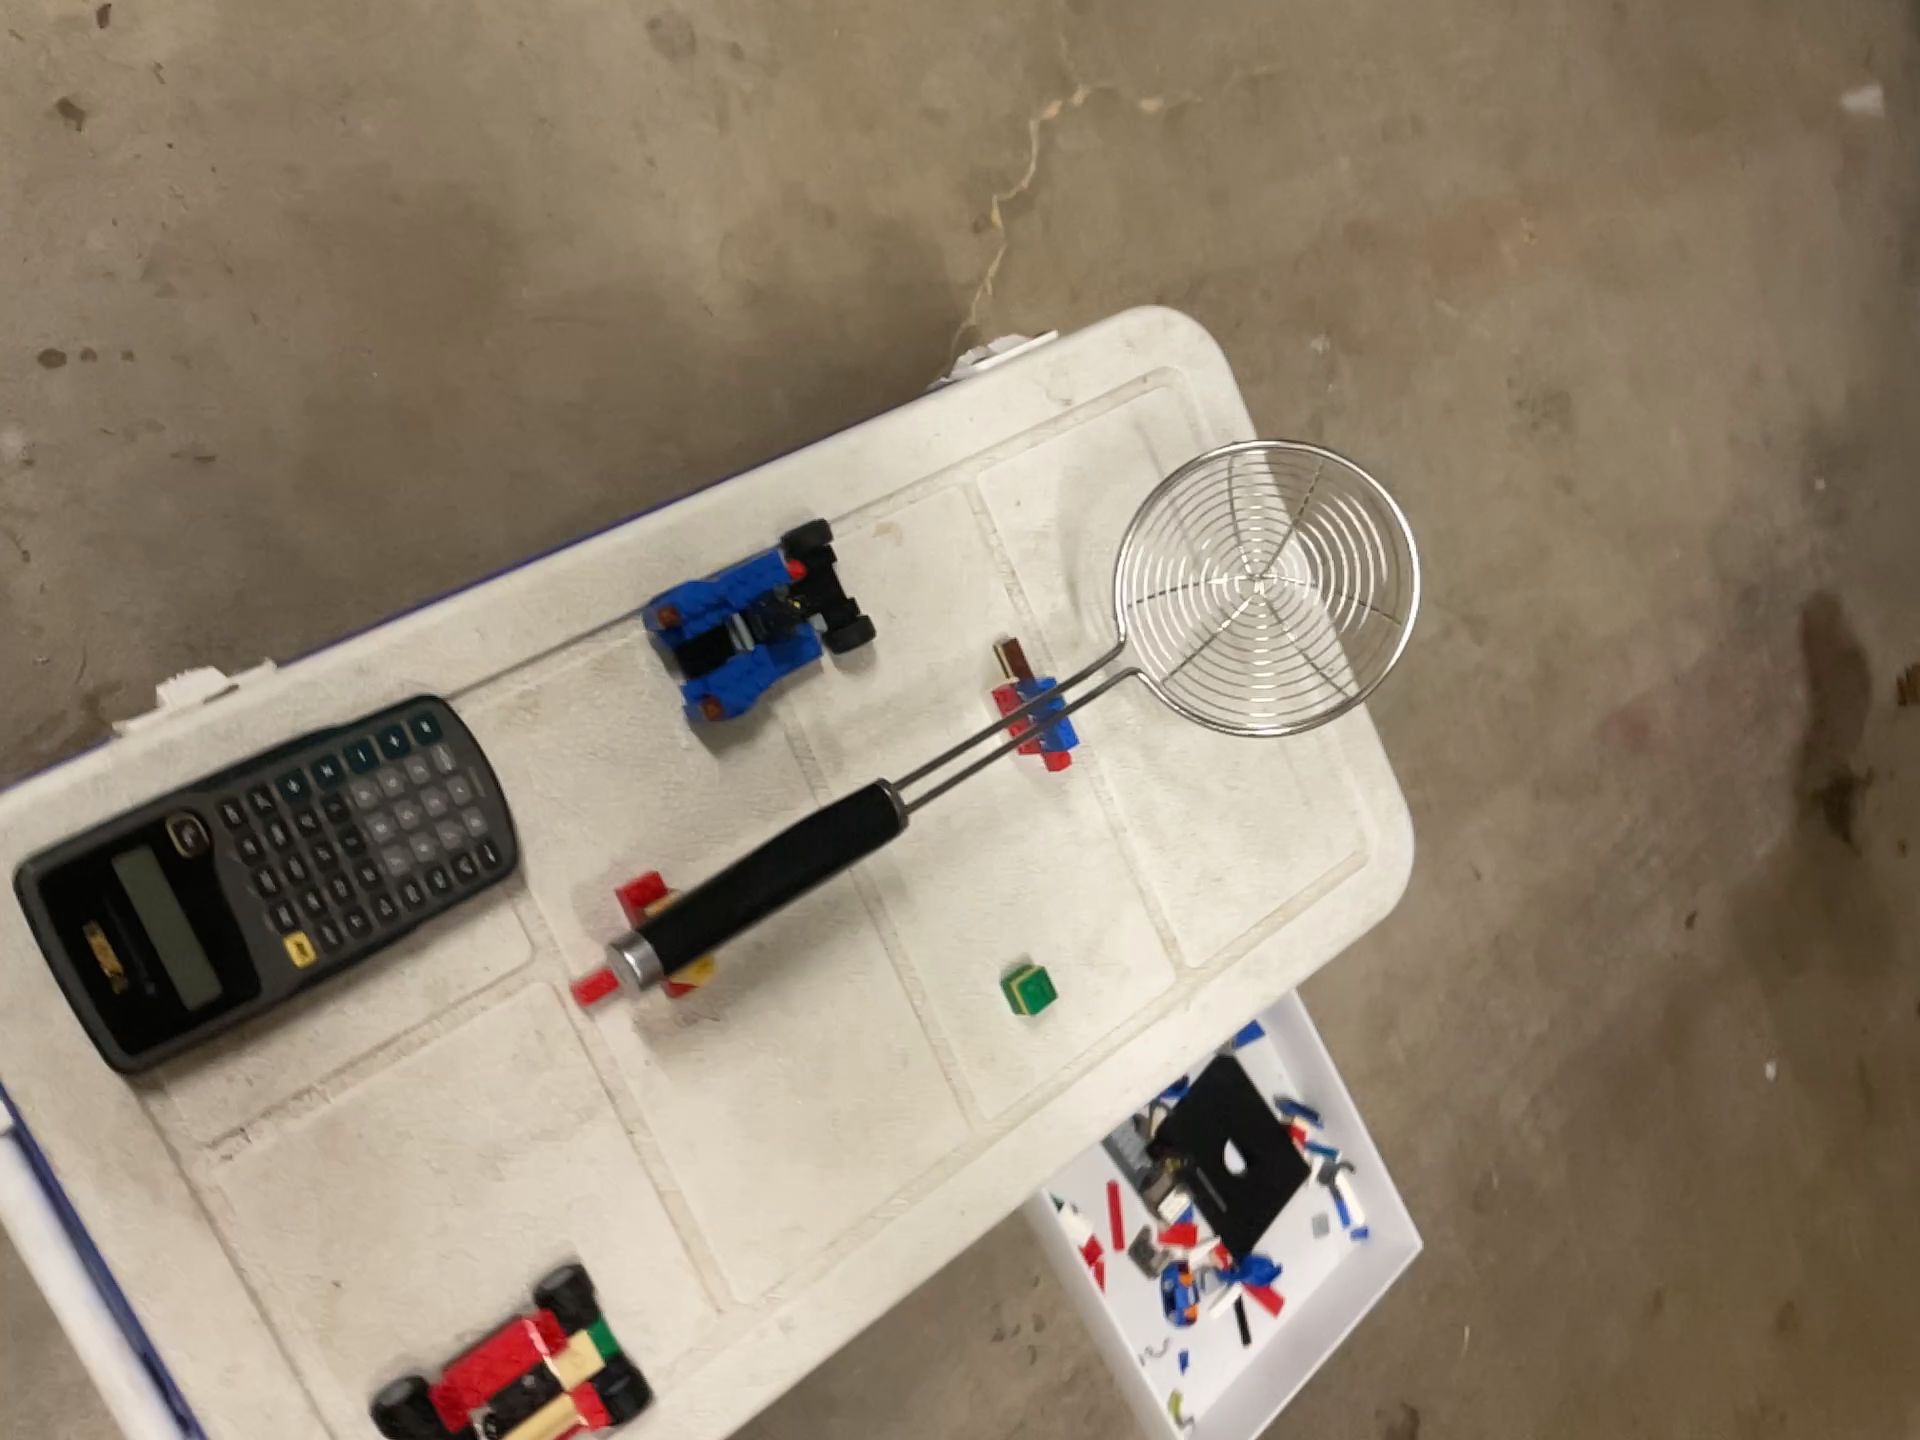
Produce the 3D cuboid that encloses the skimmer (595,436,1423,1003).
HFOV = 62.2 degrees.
[{"bbox_3d":[0.031,0.003,0.607,0.363,0.090,0.127,-31,99,-30],"label":"skimmer"}]
